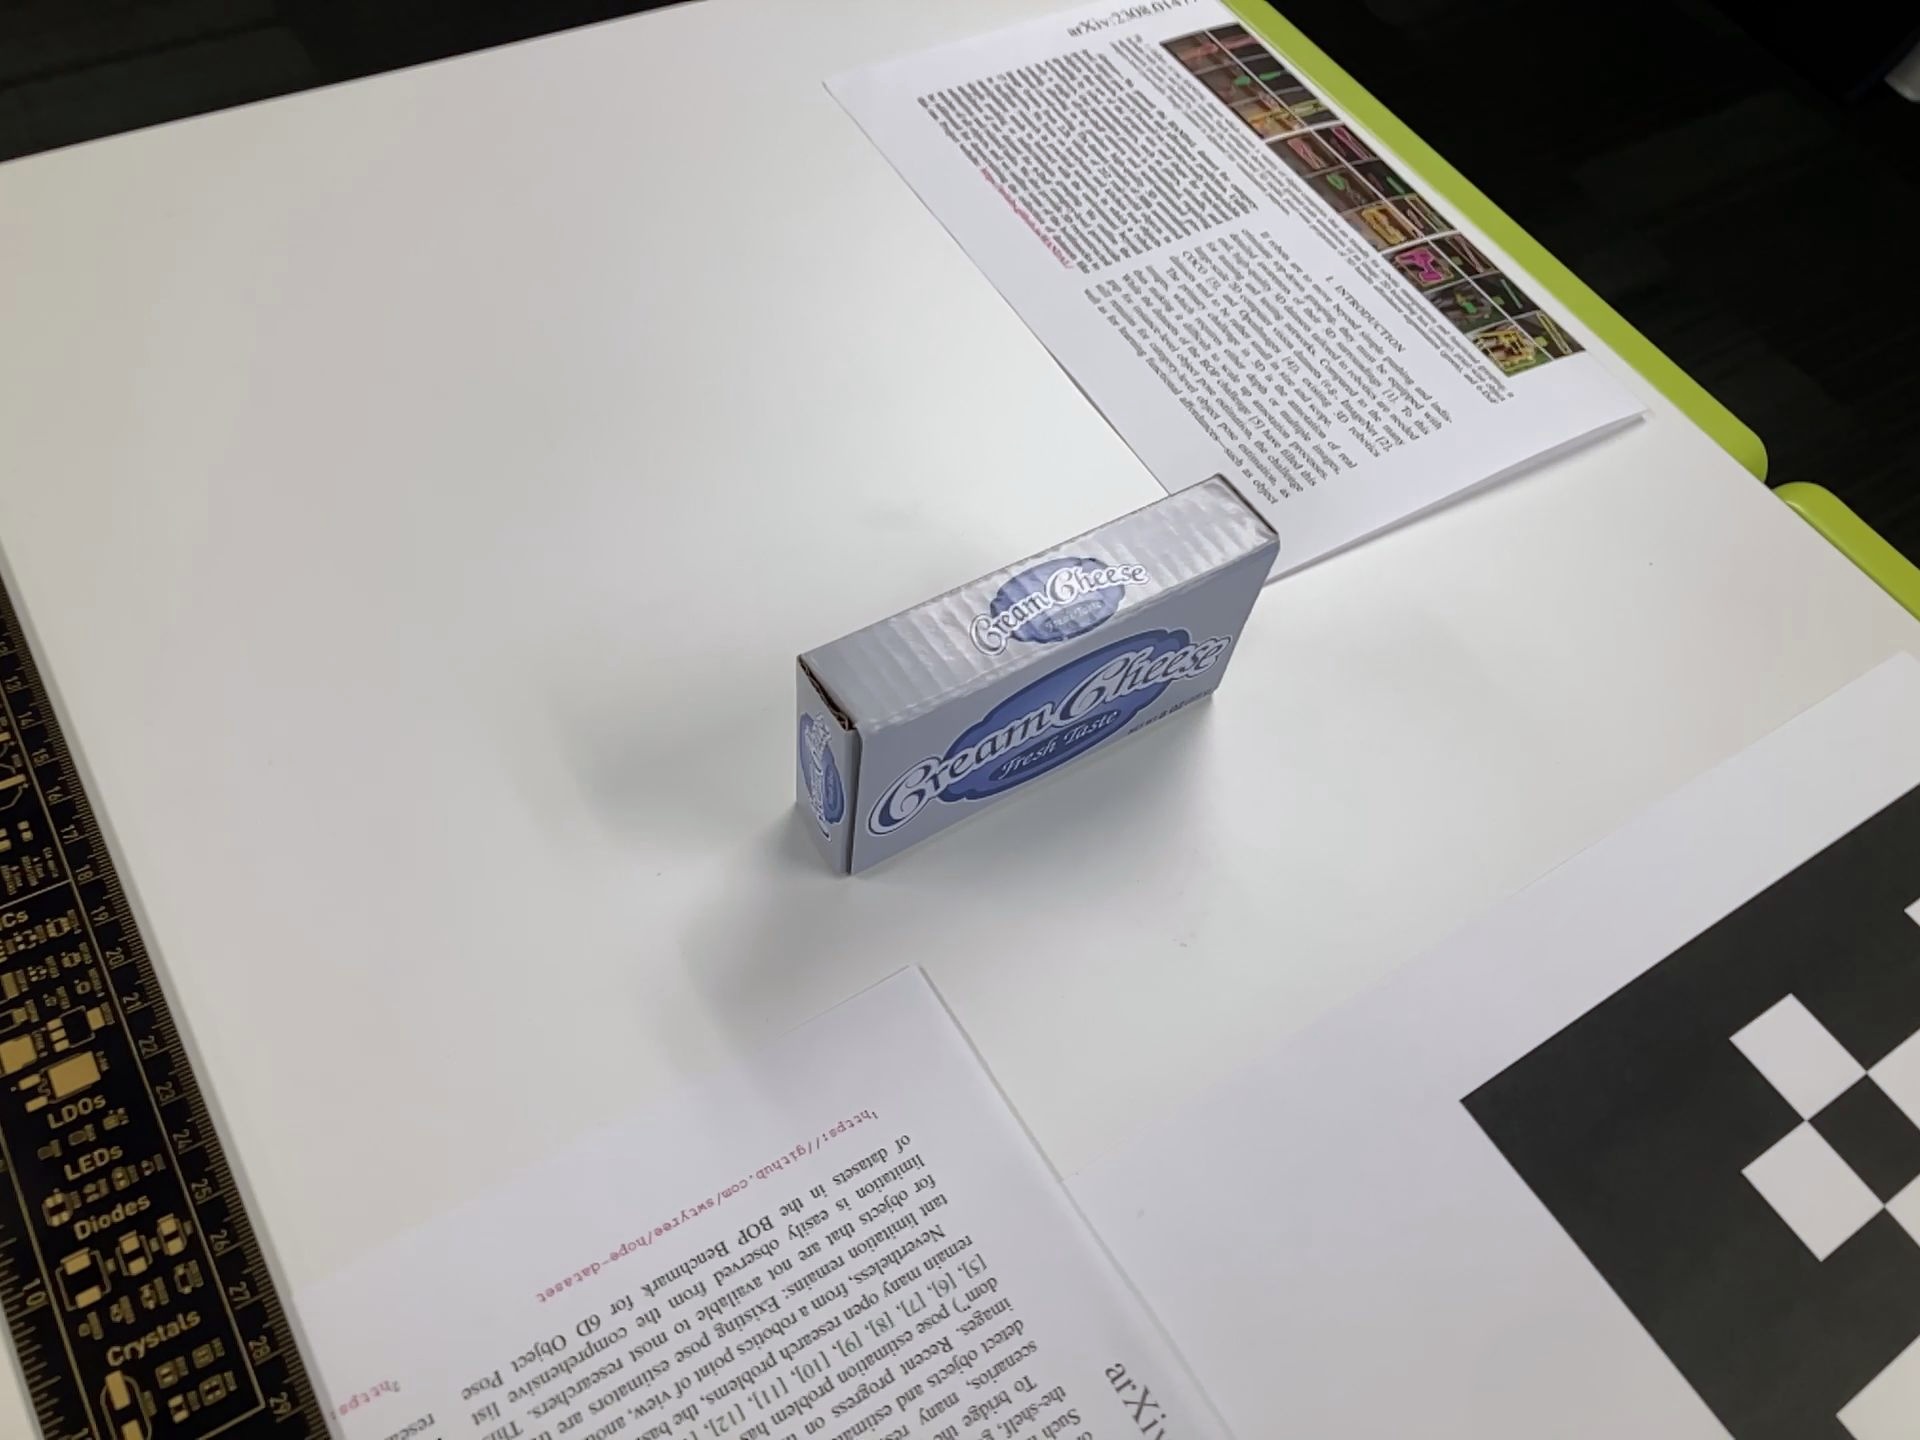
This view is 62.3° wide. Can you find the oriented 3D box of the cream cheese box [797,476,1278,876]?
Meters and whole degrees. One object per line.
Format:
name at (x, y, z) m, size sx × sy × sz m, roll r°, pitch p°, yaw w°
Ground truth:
cream cheese box at (0.015, -0.009, 0.332) m, size 0.104 × 0.053 × 0.024 m, roll -25°, pitch 61°, yaw -23°
